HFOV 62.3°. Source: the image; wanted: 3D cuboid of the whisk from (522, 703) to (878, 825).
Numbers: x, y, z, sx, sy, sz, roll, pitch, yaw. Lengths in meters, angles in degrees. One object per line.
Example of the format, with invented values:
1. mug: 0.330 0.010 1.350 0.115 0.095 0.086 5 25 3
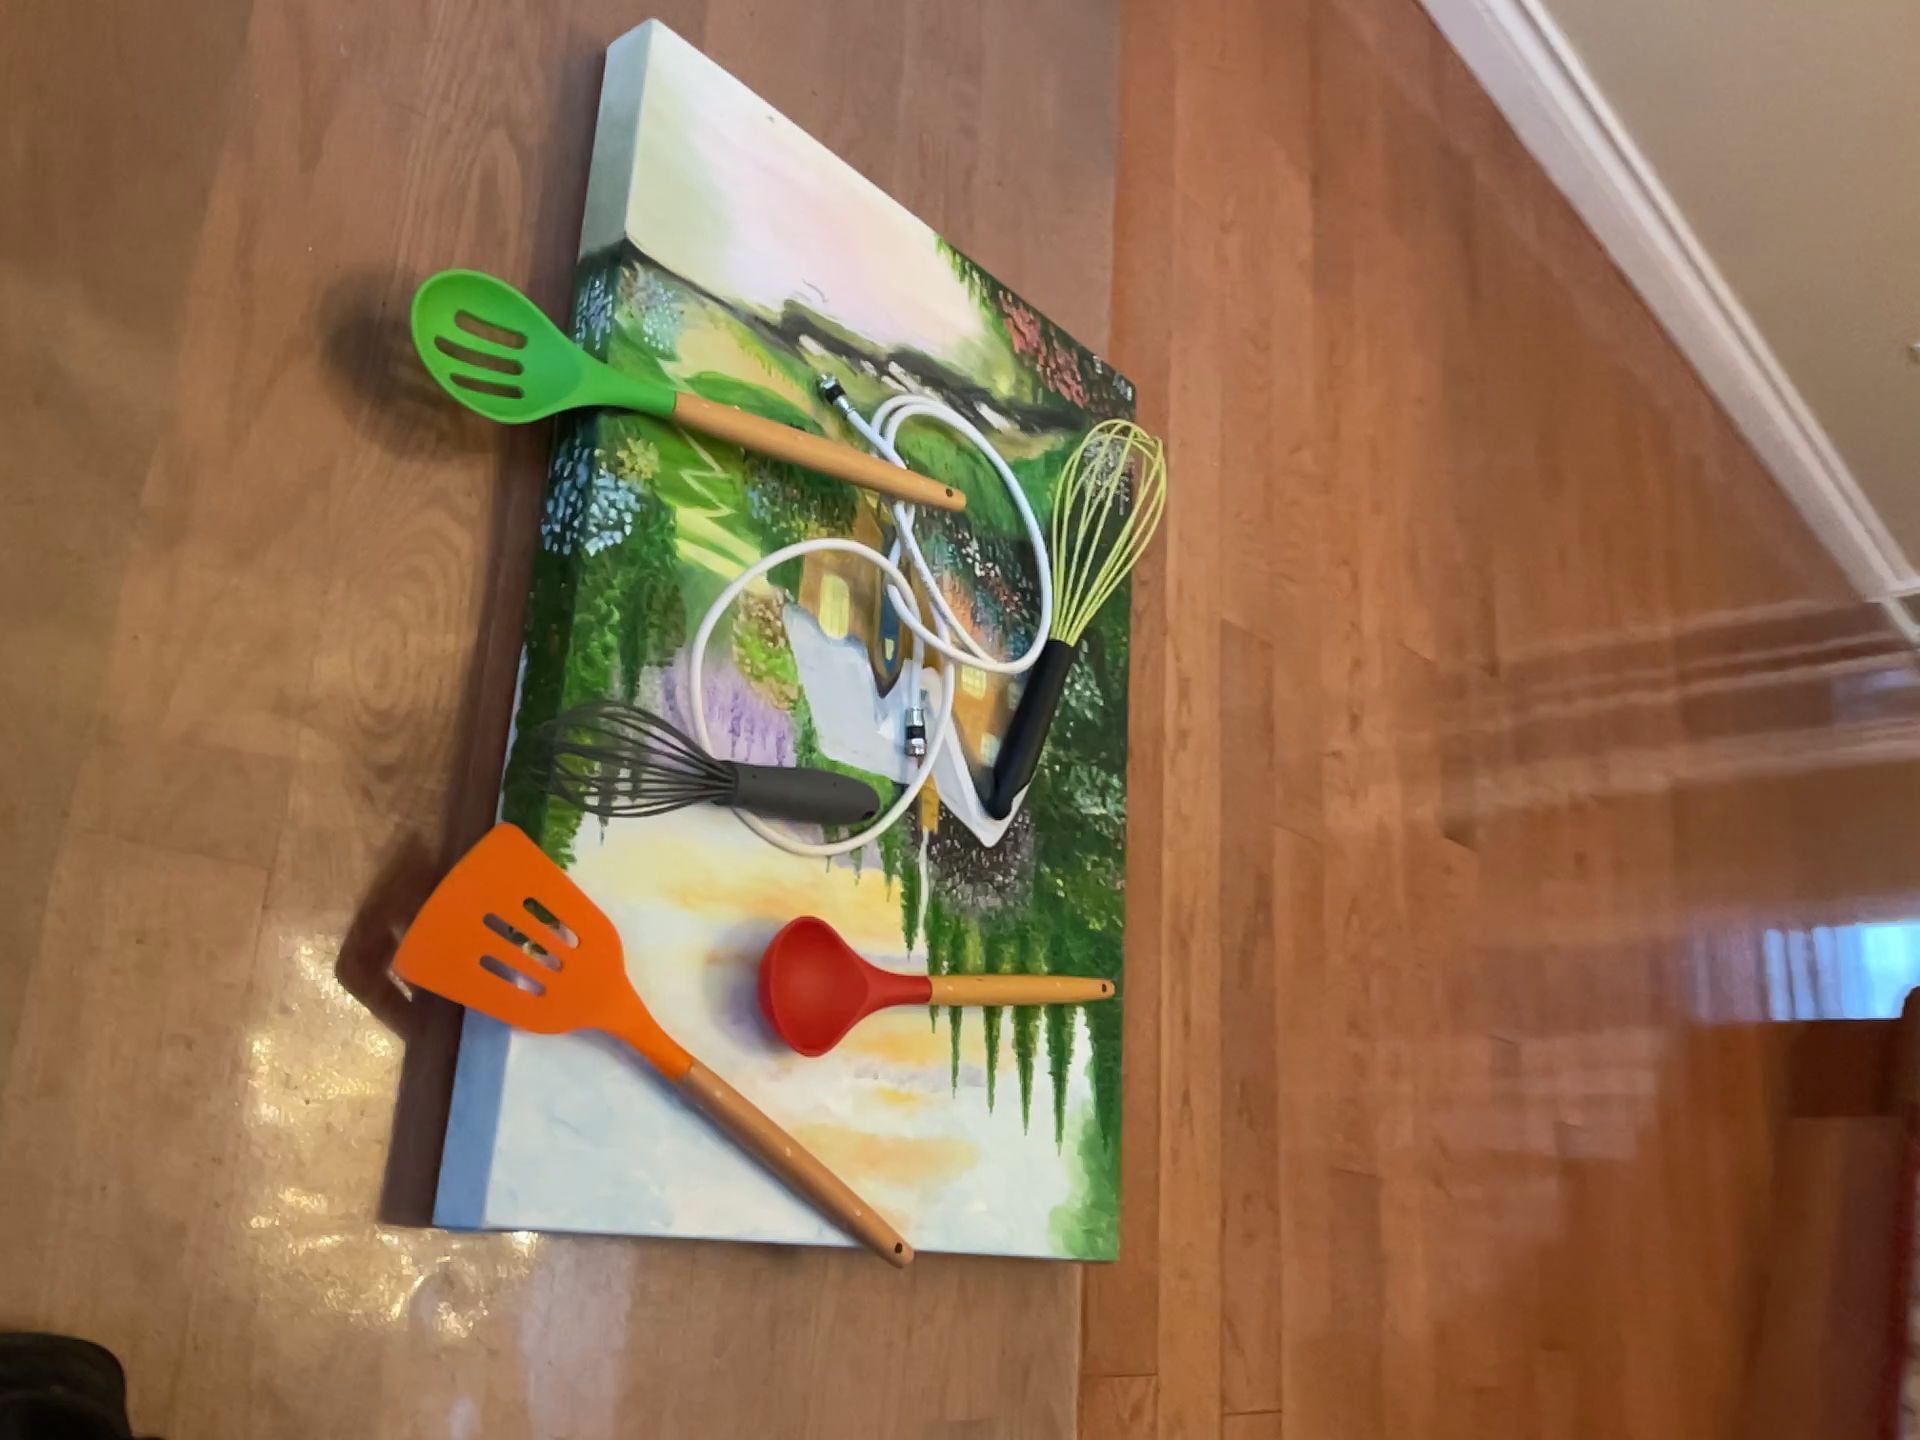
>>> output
1. whisk: -0.113 0.029 0.774 0.238 0.055 0.055 14 80 -55

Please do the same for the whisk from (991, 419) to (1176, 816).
1. whisk: 0.071 -0.073 1.028 0.079 0.067 0.312 39 58 -32

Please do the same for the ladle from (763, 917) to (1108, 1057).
1. ladle: -0.004 0.150 0.891 0.315 0.031 0.069 13 72 -52

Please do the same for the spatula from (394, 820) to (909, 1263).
1. spatula: -0.123 0.174 0.753 0.322 0.041 0.081 51 57 -32

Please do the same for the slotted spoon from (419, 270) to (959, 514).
1. slotted spoon: -0.126 -0.151 0.810 0.313 0.031 0.070 13 69 -36
